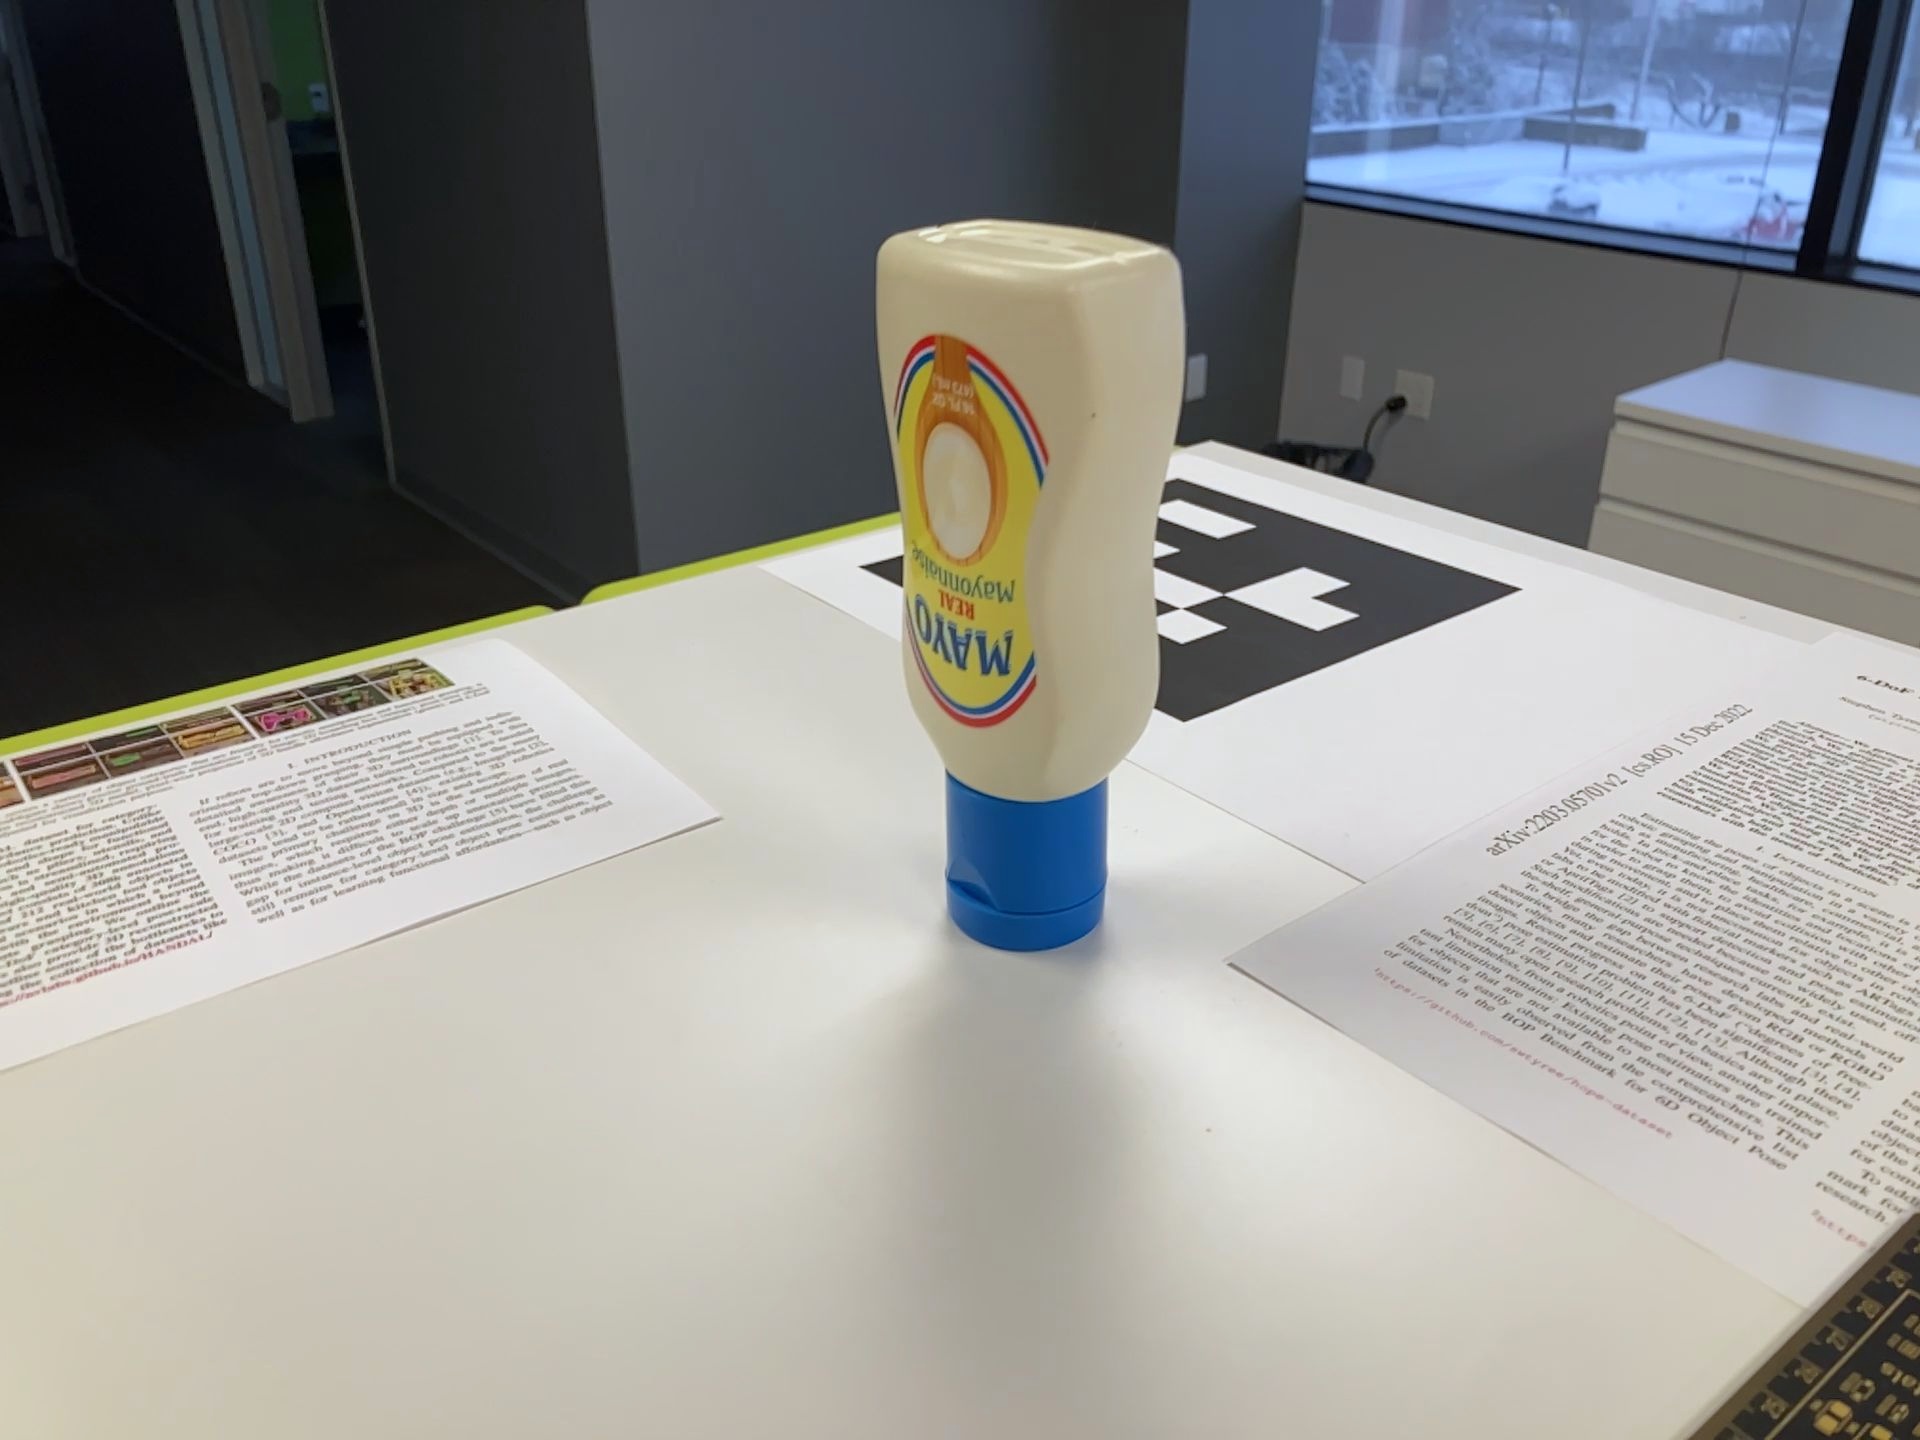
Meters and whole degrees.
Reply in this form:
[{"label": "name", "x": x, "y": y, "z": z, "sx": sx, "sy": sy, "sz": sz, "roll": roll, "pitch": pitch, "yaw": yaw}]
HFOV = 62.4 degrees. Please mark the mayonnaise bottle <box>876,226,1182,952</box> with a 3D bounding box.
[{"label": "mayonnaise bottle", "x": 0.013, "y": -0.023, "z": 0.330, "sx": 0.041, "sy": 0.148, "sz": 0.065, "roll": -21, "pitch": 31, "yaw": -35}]
